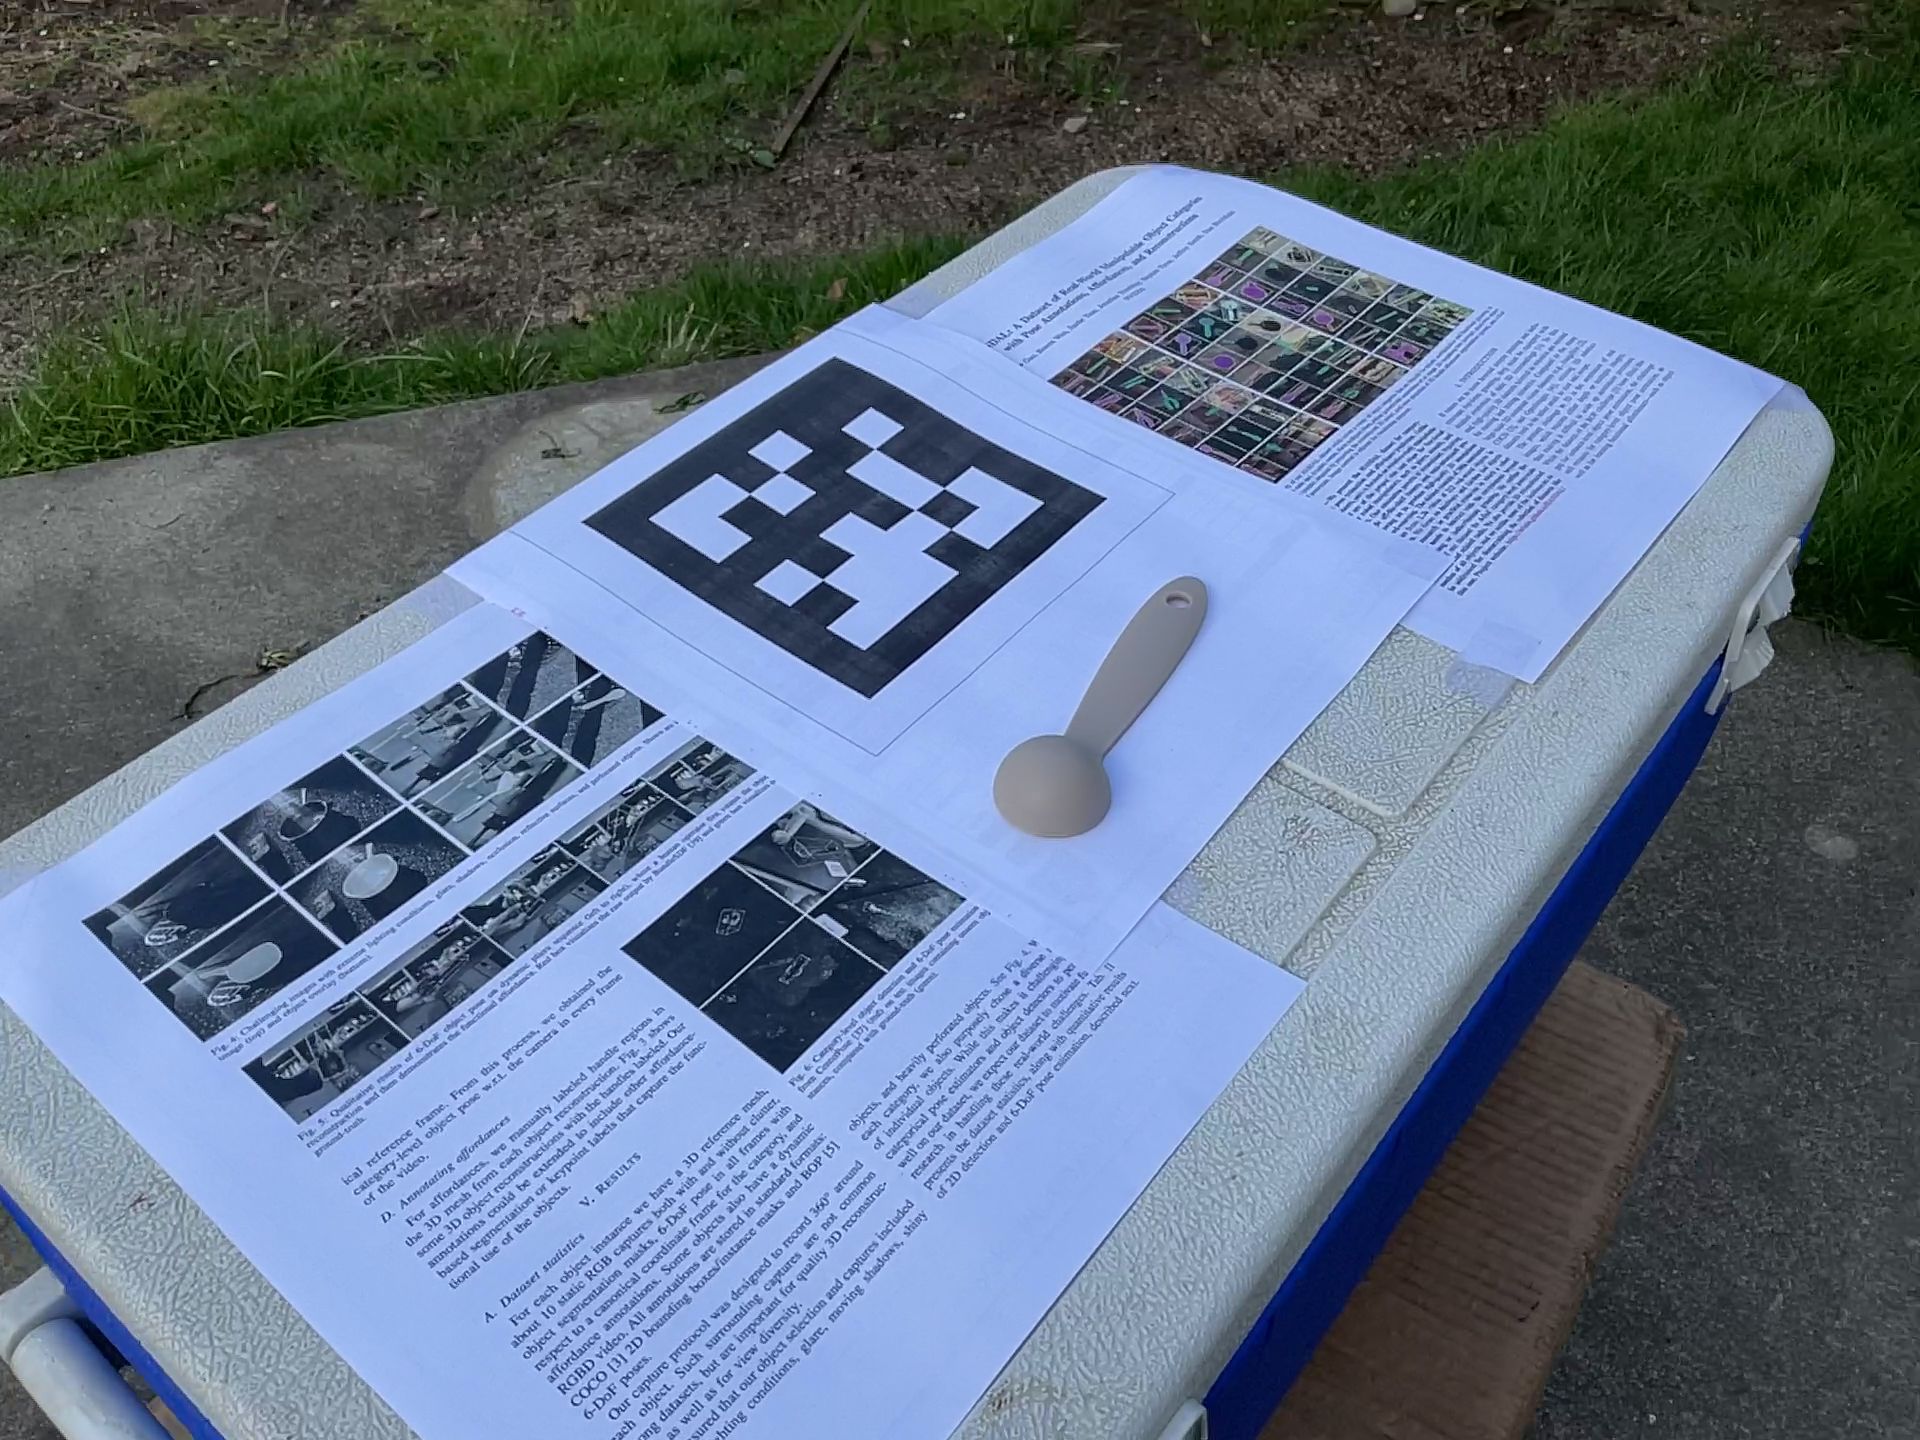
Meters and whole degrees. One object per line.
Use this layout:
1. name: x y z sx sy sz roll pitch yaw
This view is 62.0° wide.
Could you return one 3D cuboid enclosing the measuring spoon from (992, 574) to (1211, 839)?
1. measuring spoon: 0.048 -0.012 0.477 0.034 0.018 0.124 21 48 19
